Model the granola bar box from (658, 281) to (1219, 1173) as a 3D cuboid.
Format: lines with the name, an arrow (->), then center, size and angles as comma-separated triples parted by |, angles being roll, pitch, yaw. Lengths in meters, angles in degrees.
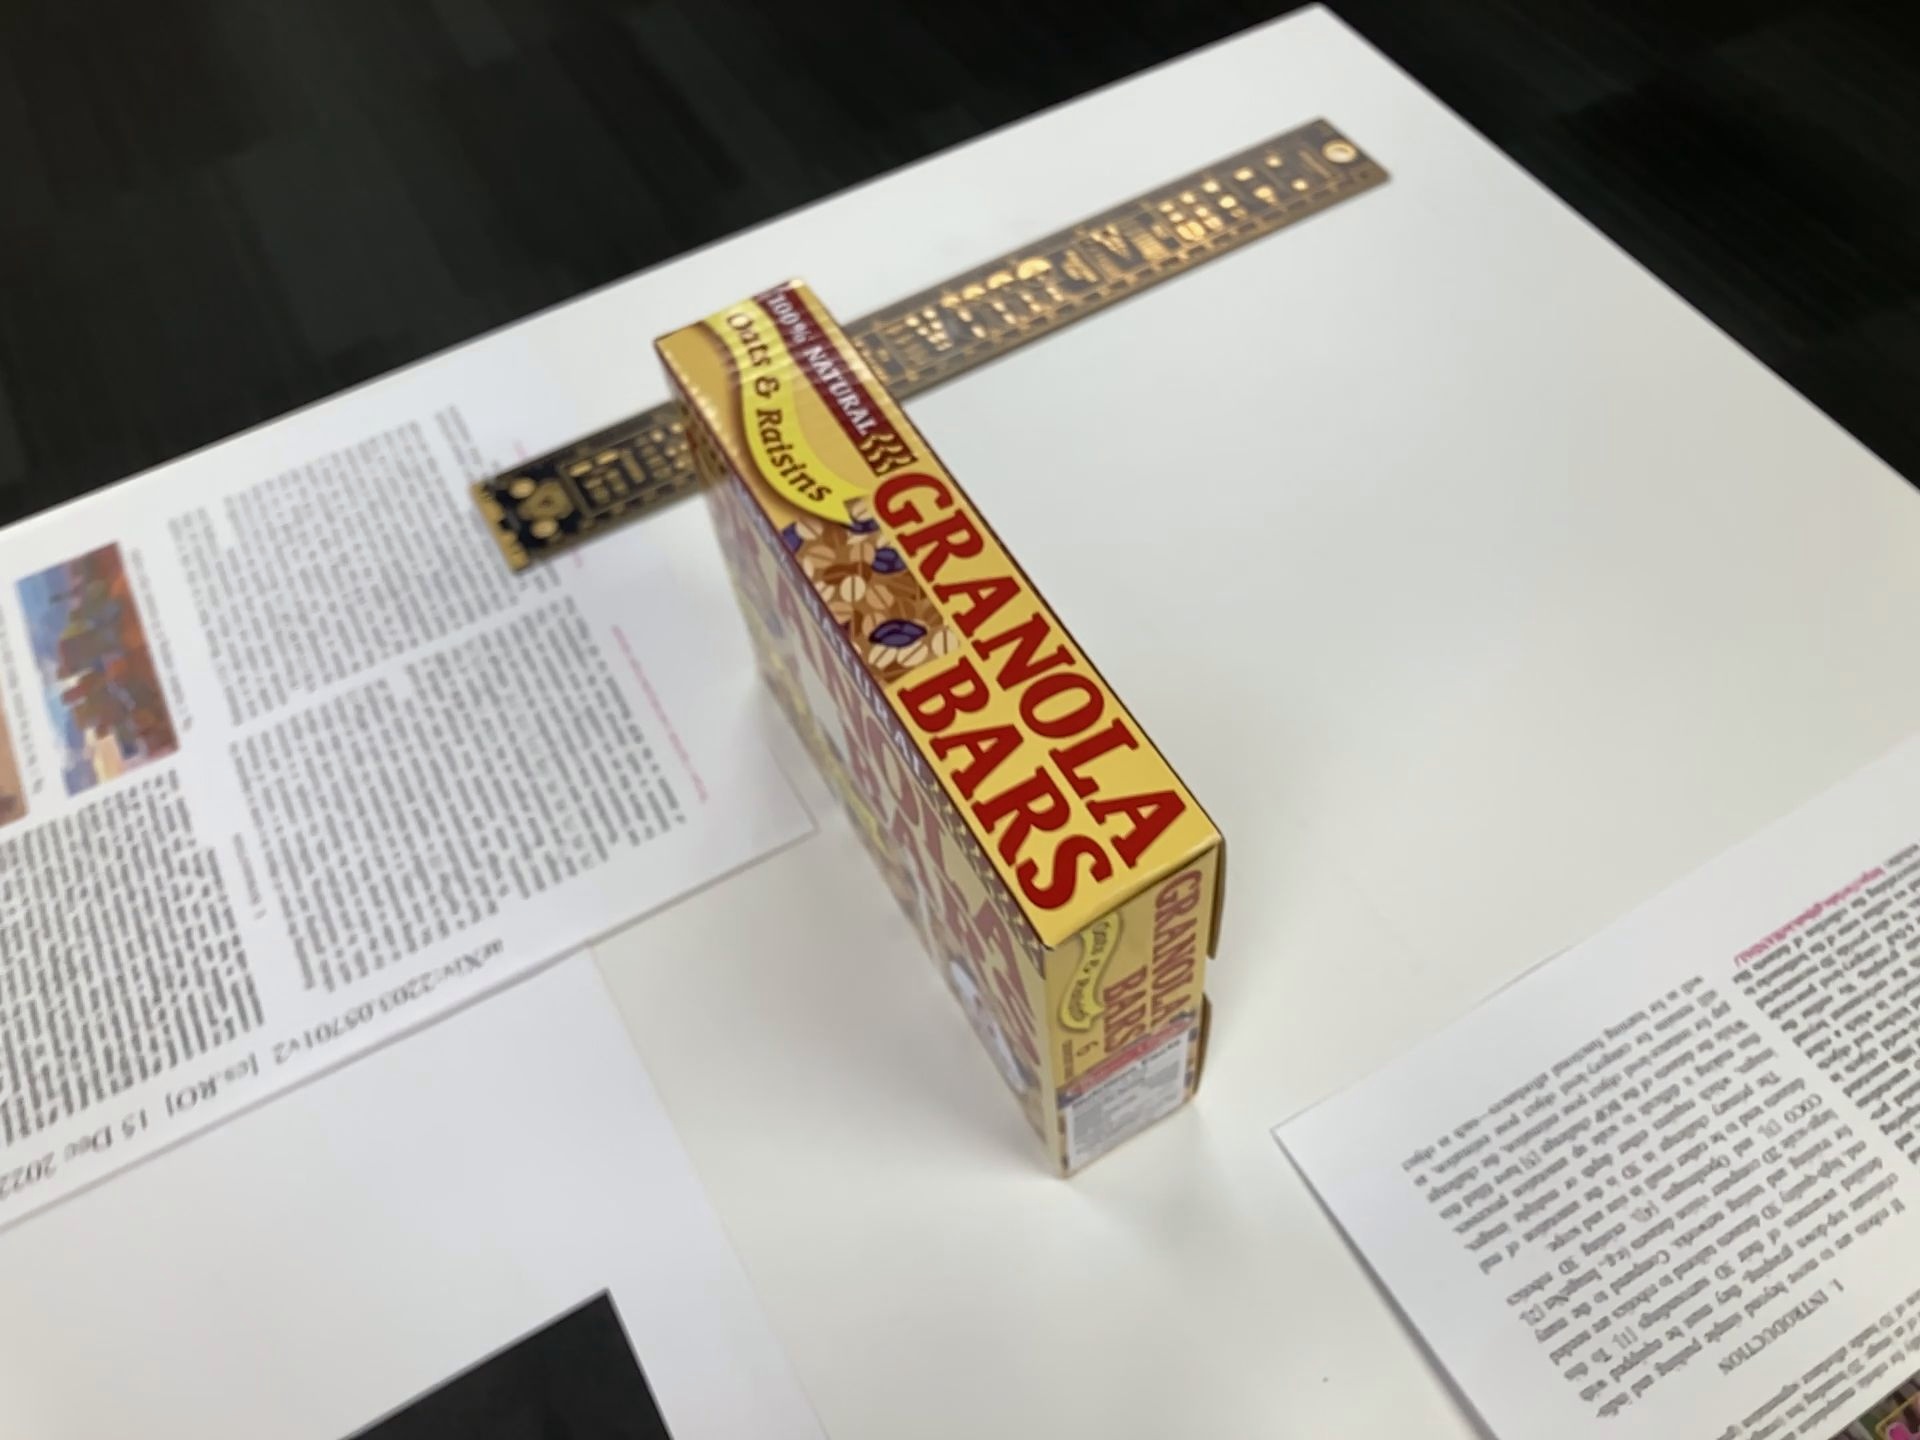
granola bar box -> -0.005, 0.002, 0.354 | 0.039, 0.124, 0.165 | -27, 58, -11
